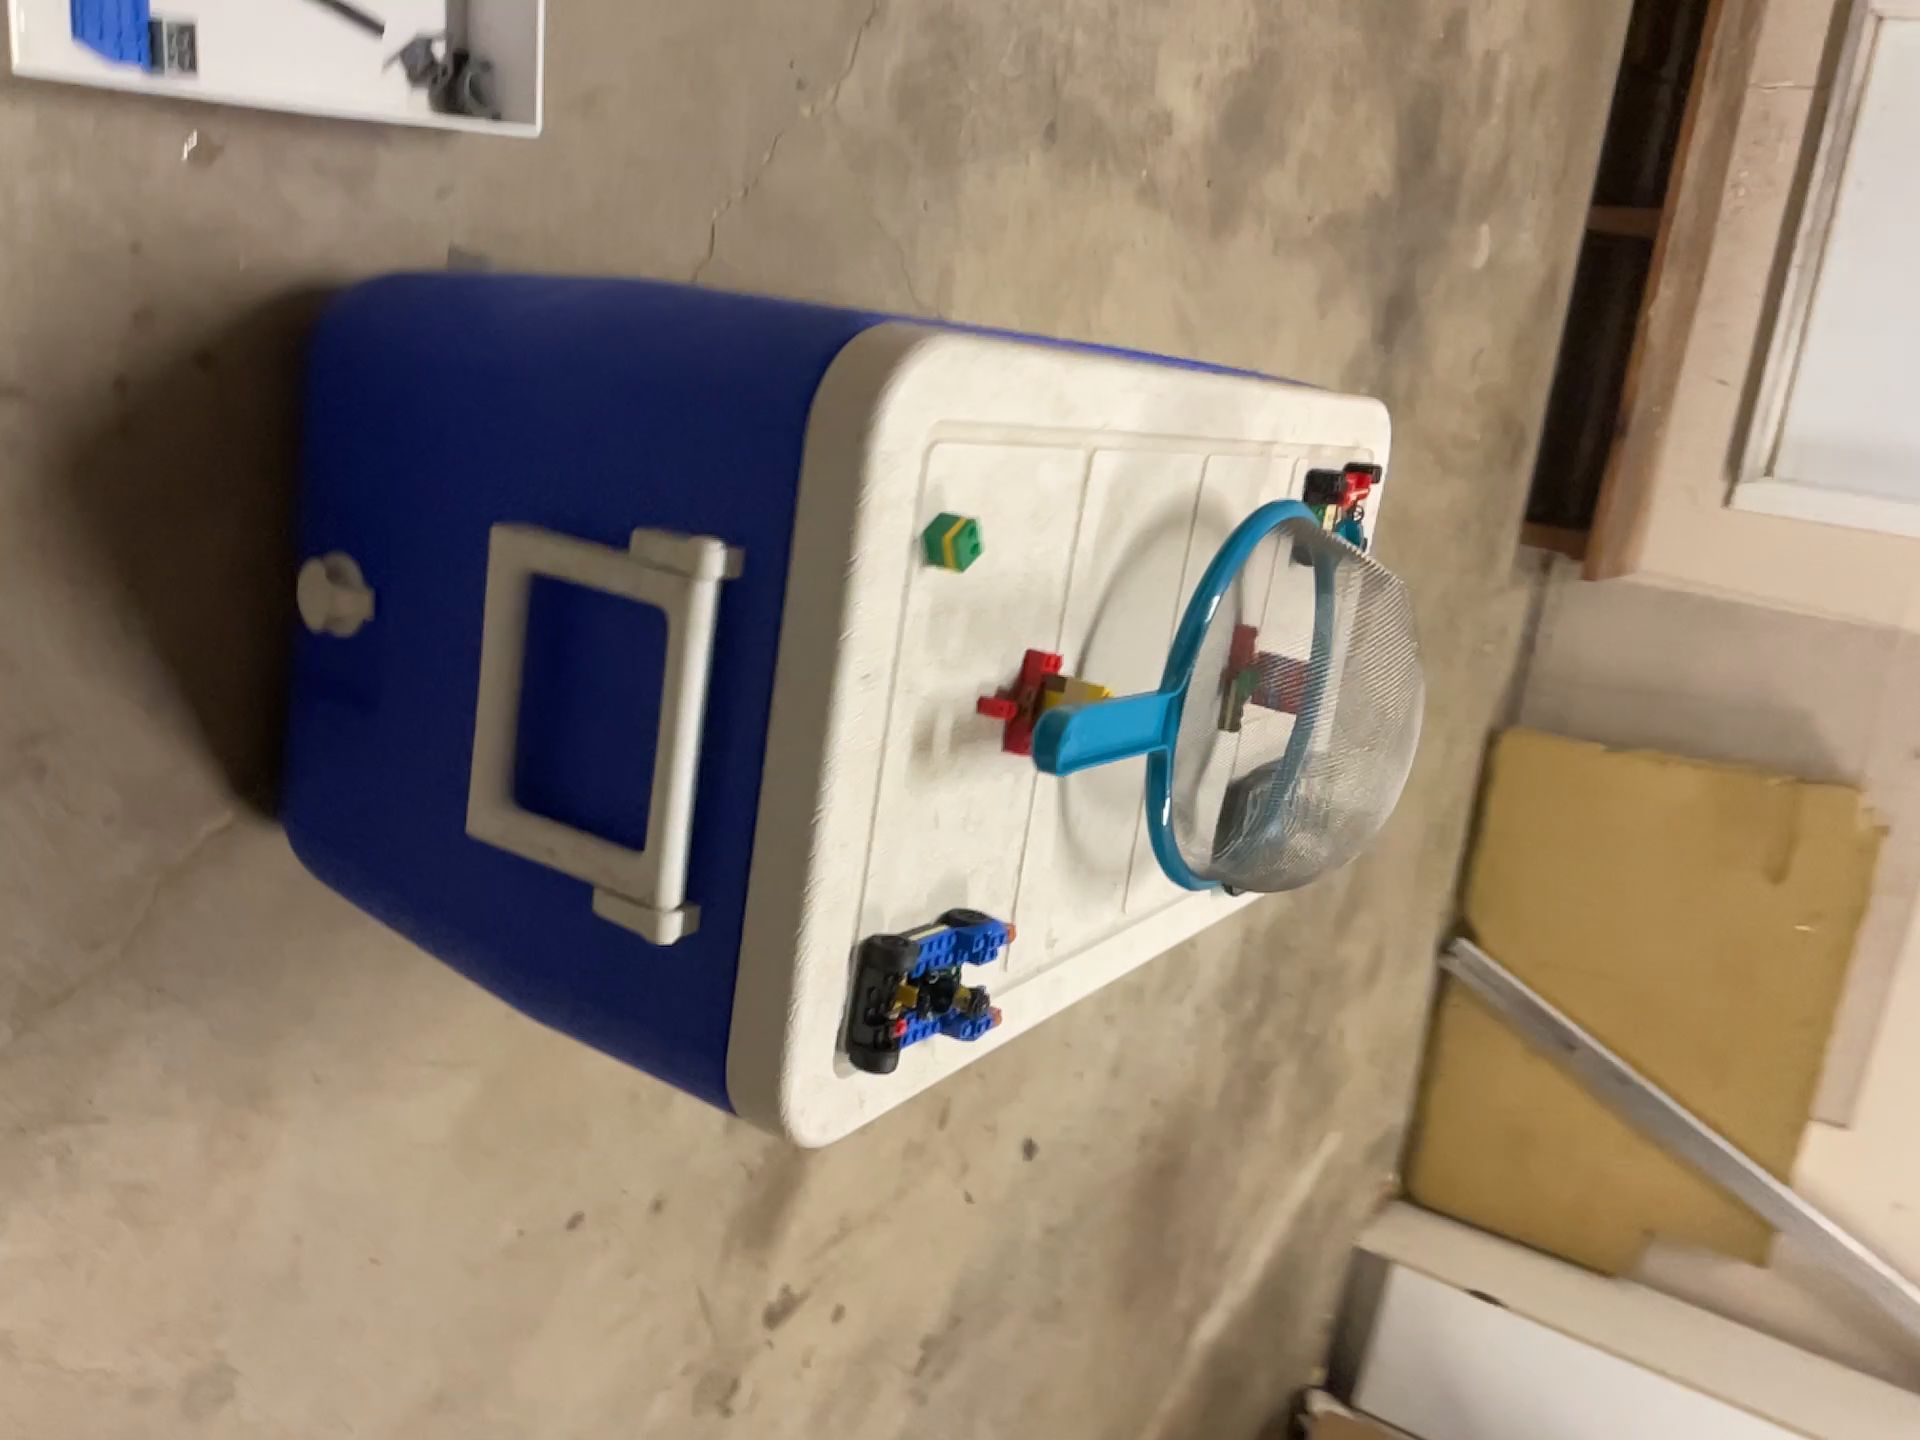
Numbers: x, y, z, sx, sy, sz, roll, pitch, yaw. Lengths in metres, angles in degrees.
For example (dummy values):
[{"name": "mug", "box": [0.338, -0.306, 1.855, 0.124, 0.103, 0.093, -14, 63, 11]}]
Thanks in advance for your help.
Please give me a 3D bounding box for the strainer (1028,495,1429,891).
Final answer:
[{"name": "strainer", "box": [0.150, 0.003, 0.761, 0.340, 0.095, 0.211, -10, 113, -59]}]
